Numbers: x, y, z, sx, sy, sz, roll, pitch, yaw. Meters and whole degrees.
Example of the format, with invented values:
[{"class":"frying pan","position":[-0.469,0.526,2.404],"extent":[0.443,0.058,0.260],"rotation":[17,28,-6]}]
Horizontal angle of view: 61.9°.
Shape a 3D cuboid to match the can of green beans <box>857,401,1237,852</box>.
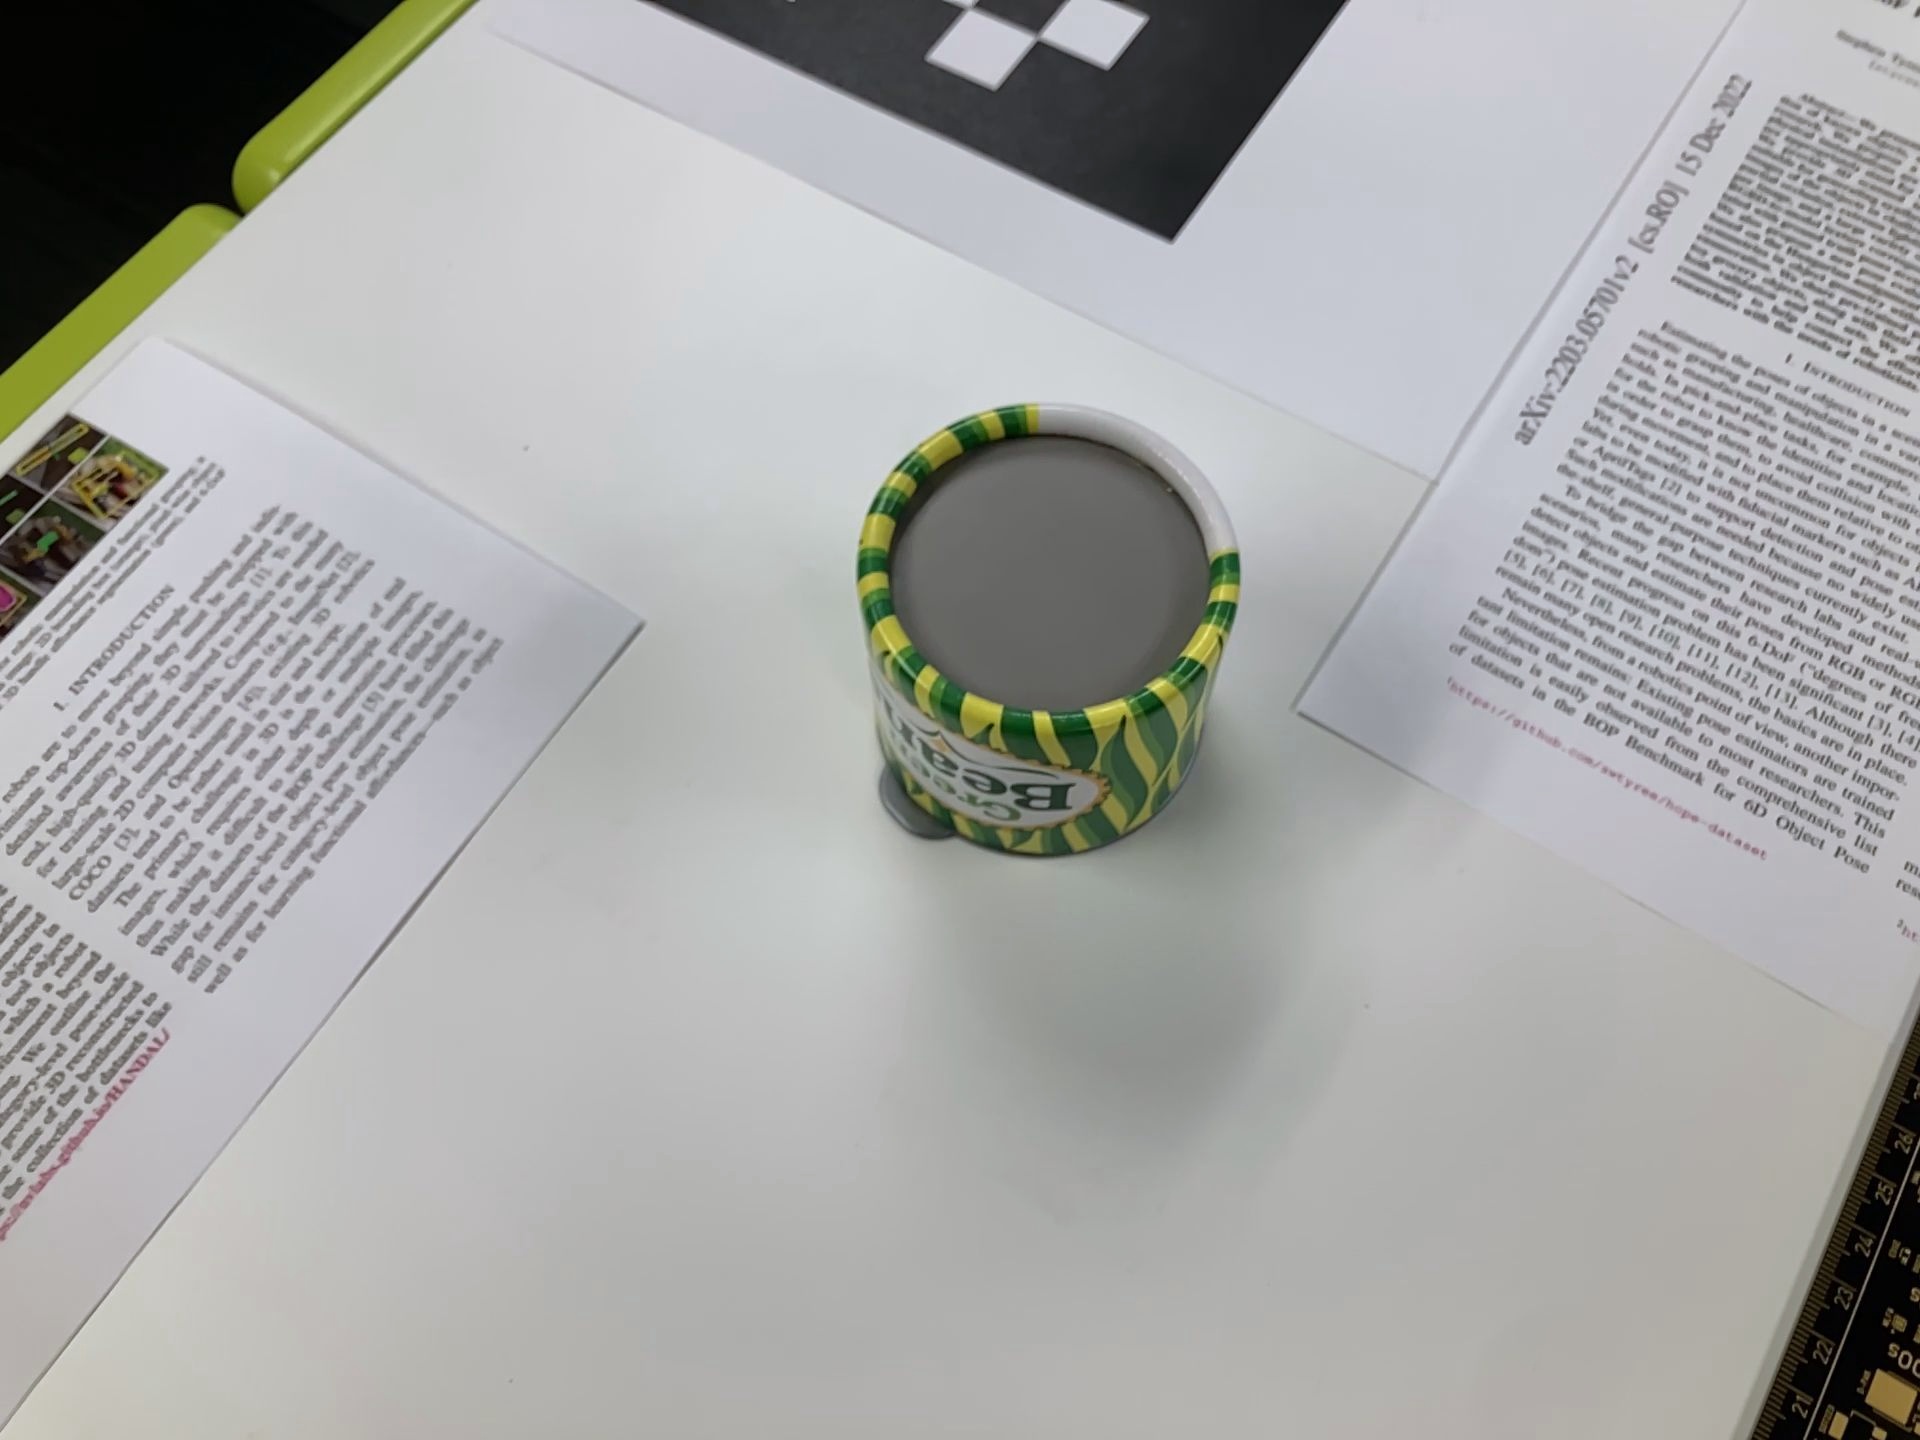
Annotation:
[{"class":"can of green beans","position":[0.015,-0.016,0.298],"extent":[0.071,0.058,0.071],"rotation":[0,65,1]}]
